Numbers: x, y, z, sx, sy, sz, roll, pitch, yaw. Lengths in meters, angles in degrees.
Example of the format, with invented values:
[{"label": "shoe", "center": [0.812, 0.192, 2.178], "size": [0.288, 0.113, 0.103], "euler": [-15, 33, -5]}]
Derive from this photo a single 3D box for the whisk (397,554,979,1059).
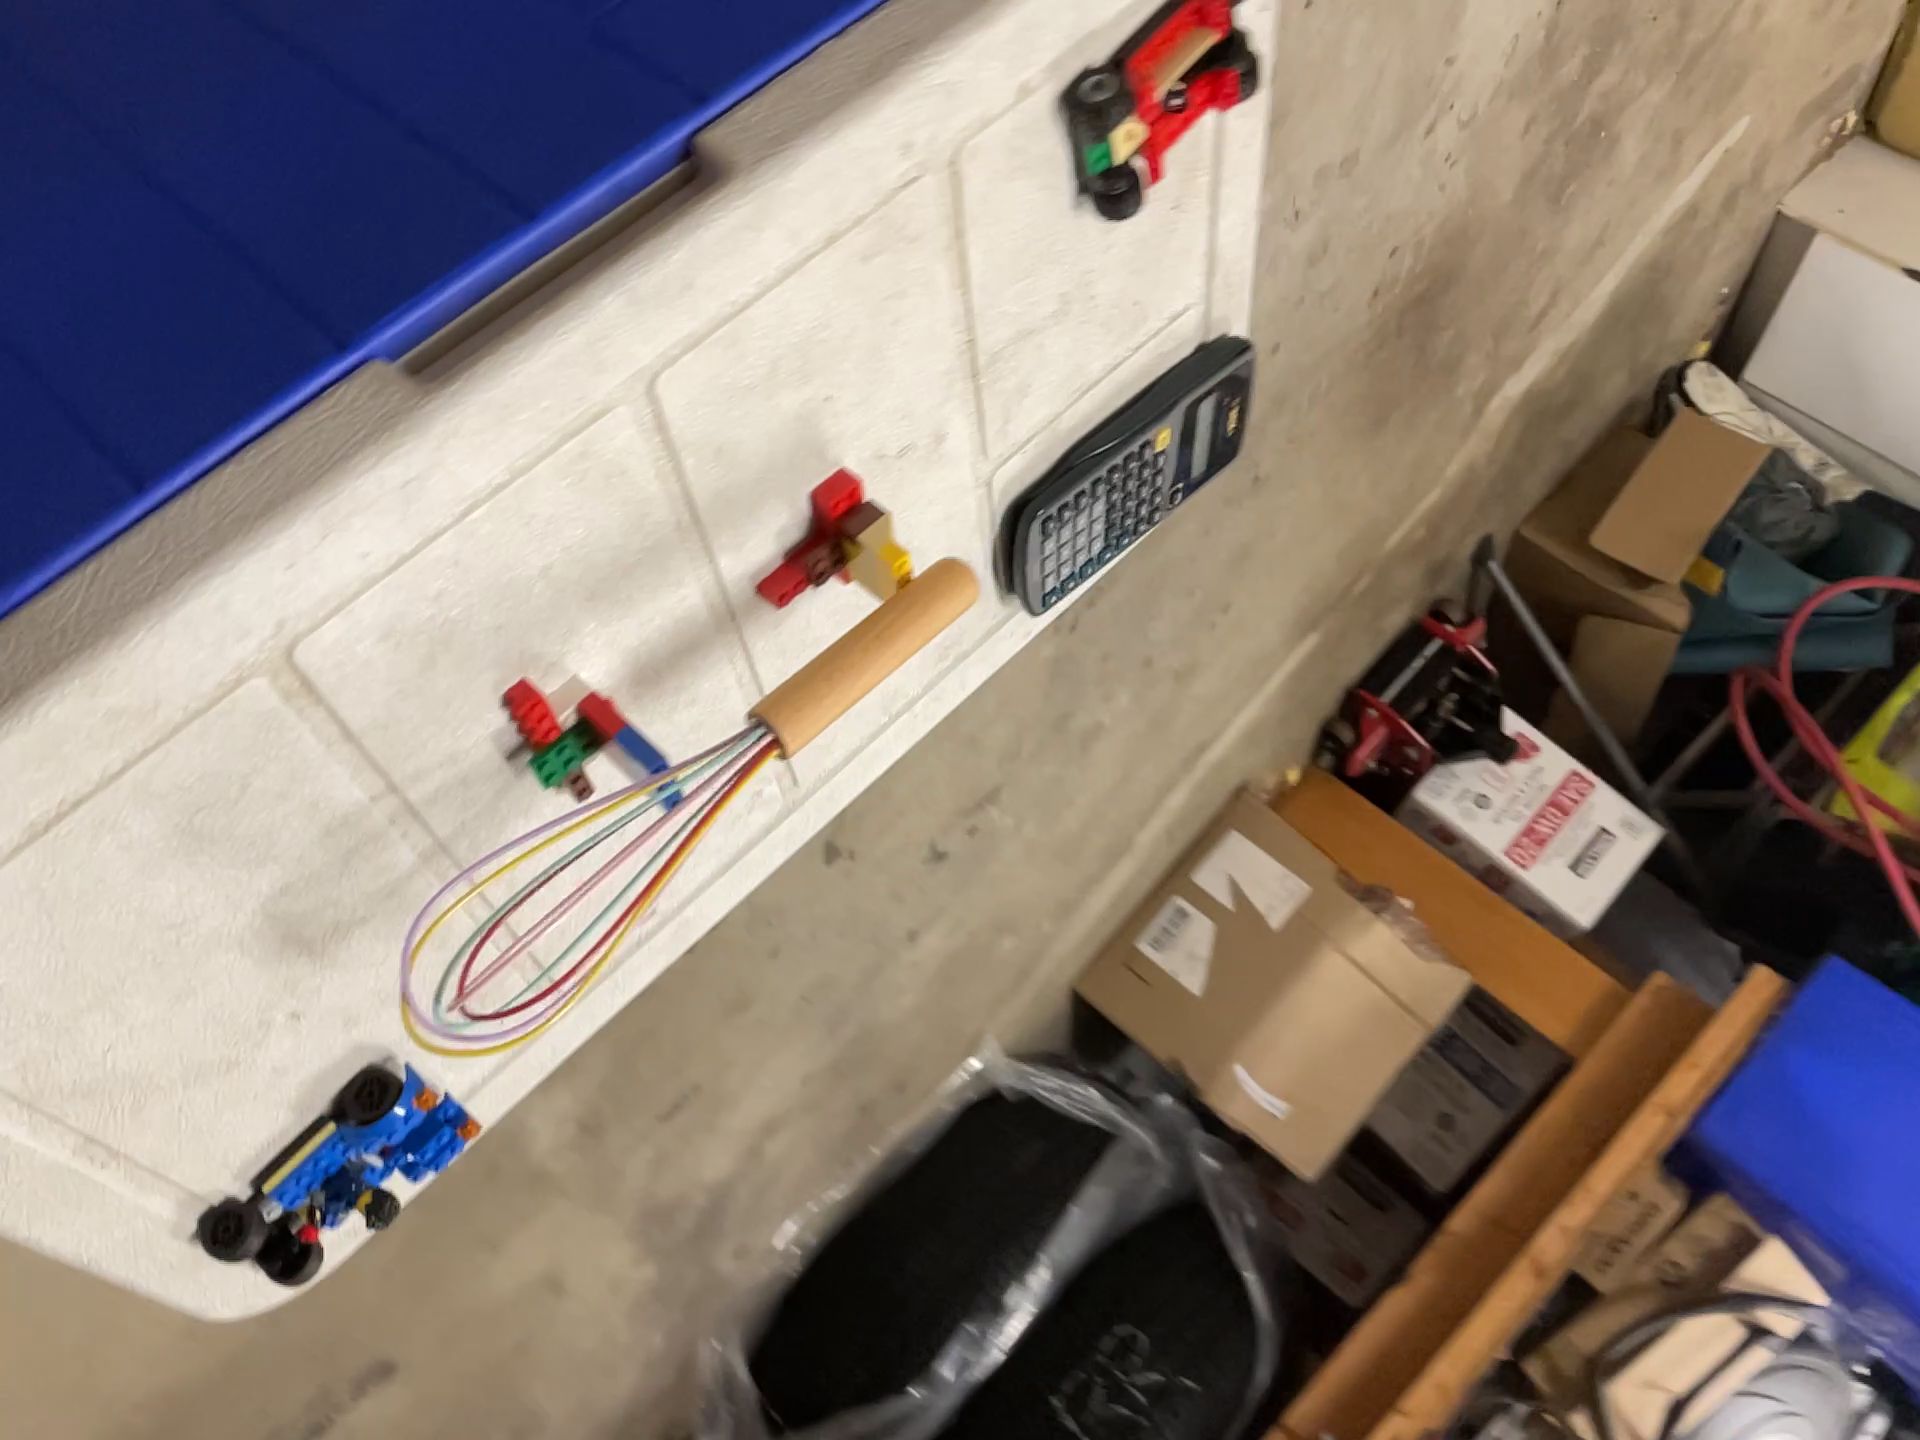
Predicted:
[{"label": "whisk", "center": [-0.078, 0.022, 0.525], "size": [0.245, 0.047, 0.051], "euler": [-42, 141, -27]}]
